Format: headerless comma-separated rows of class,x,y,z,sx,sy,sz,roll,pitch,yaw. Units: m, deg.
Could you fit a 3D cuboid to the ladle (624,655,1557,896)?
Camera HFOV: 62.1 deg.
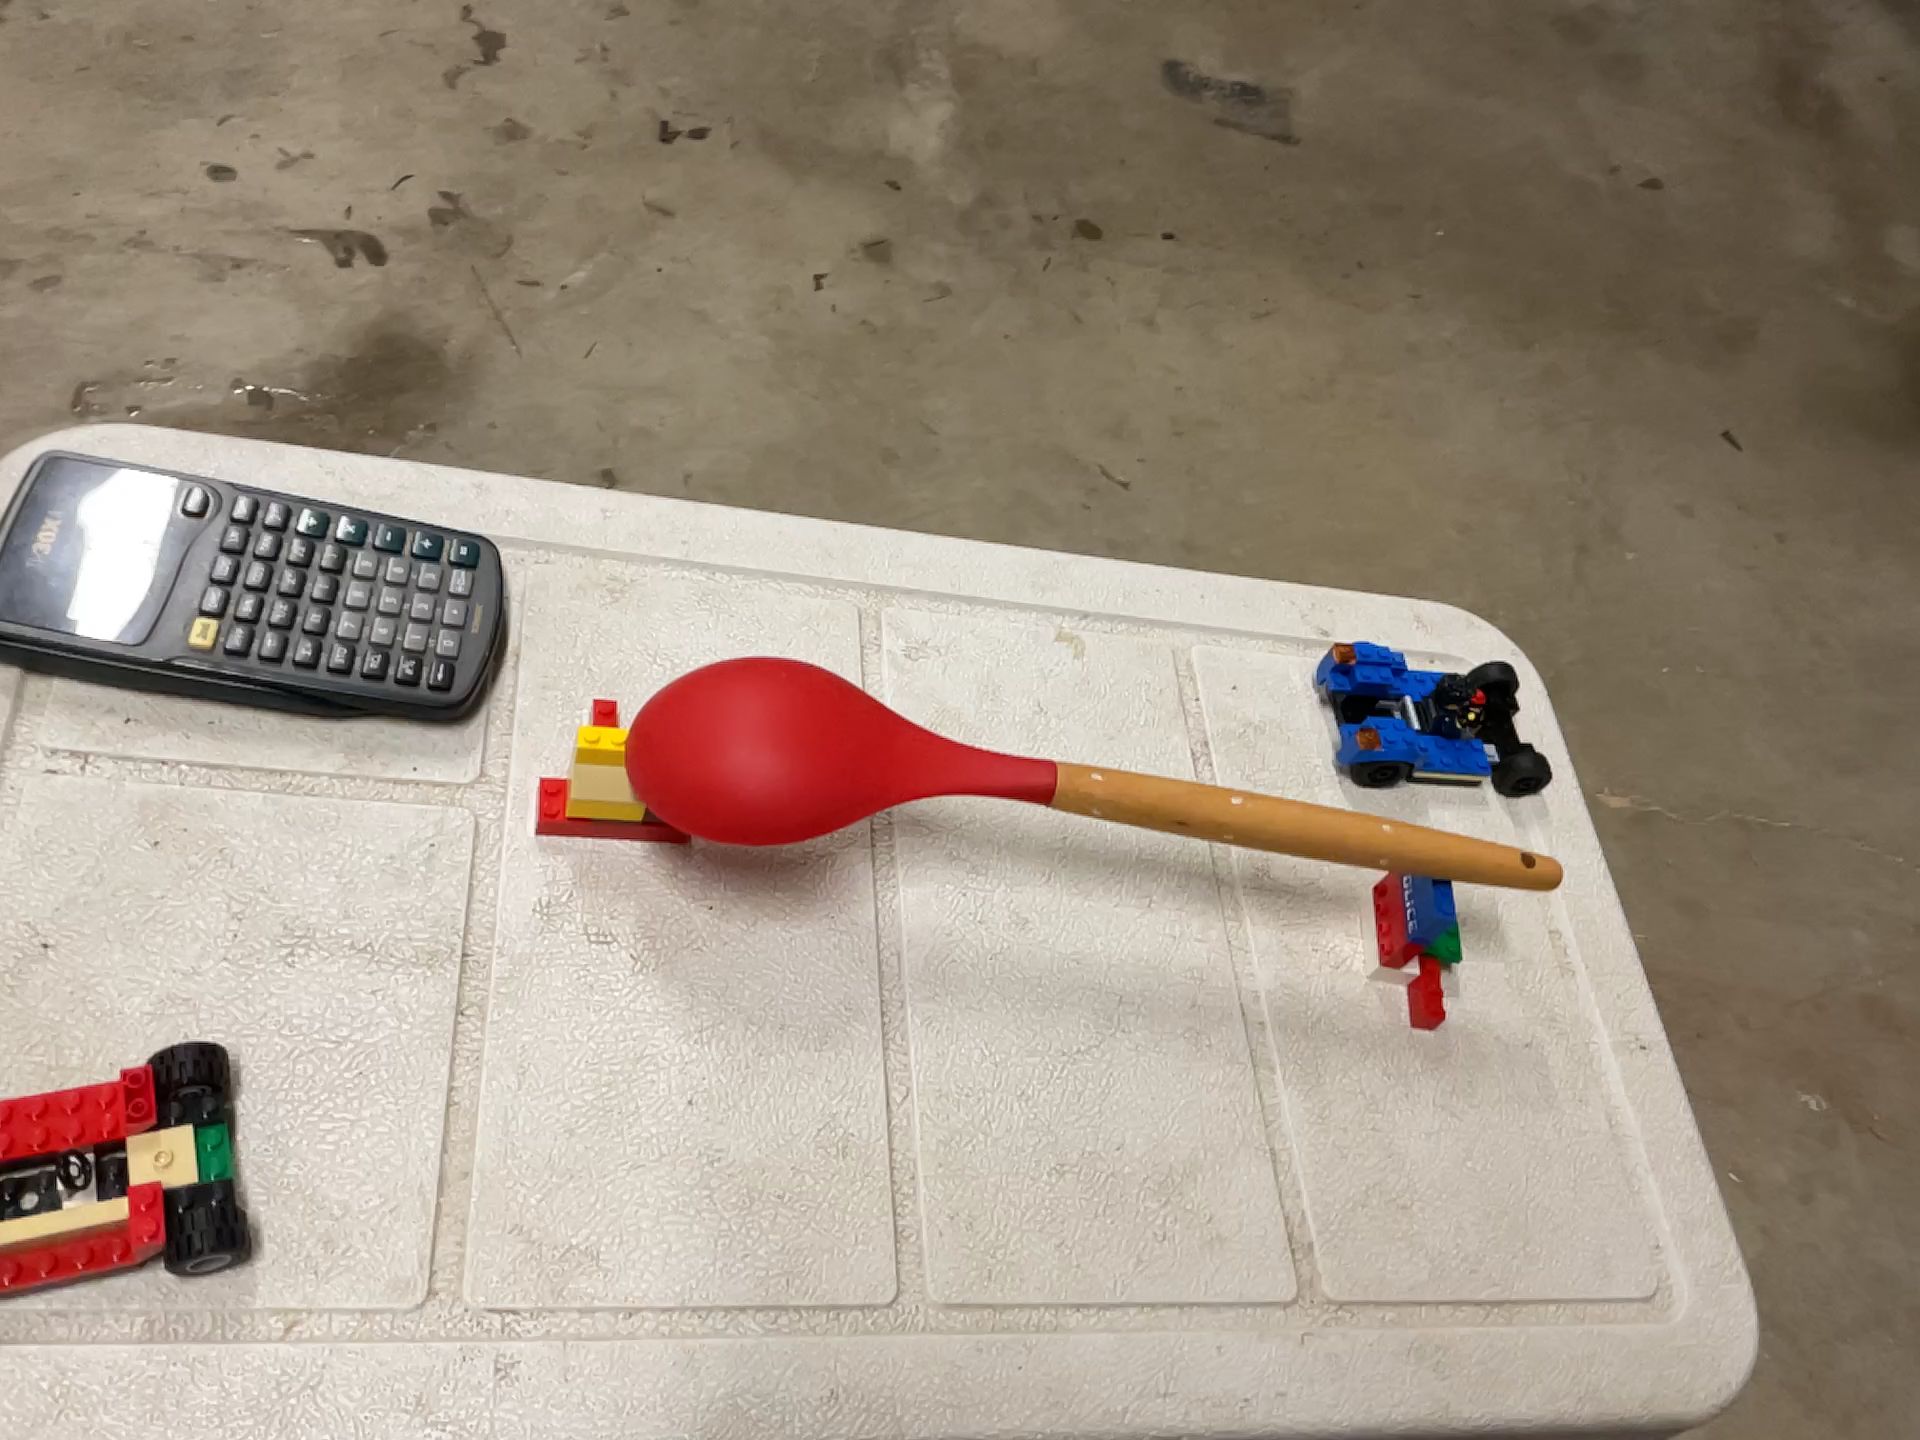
ladle,0.053,0.027,0.513,0.315,0.031,0.069,11,53,-14
